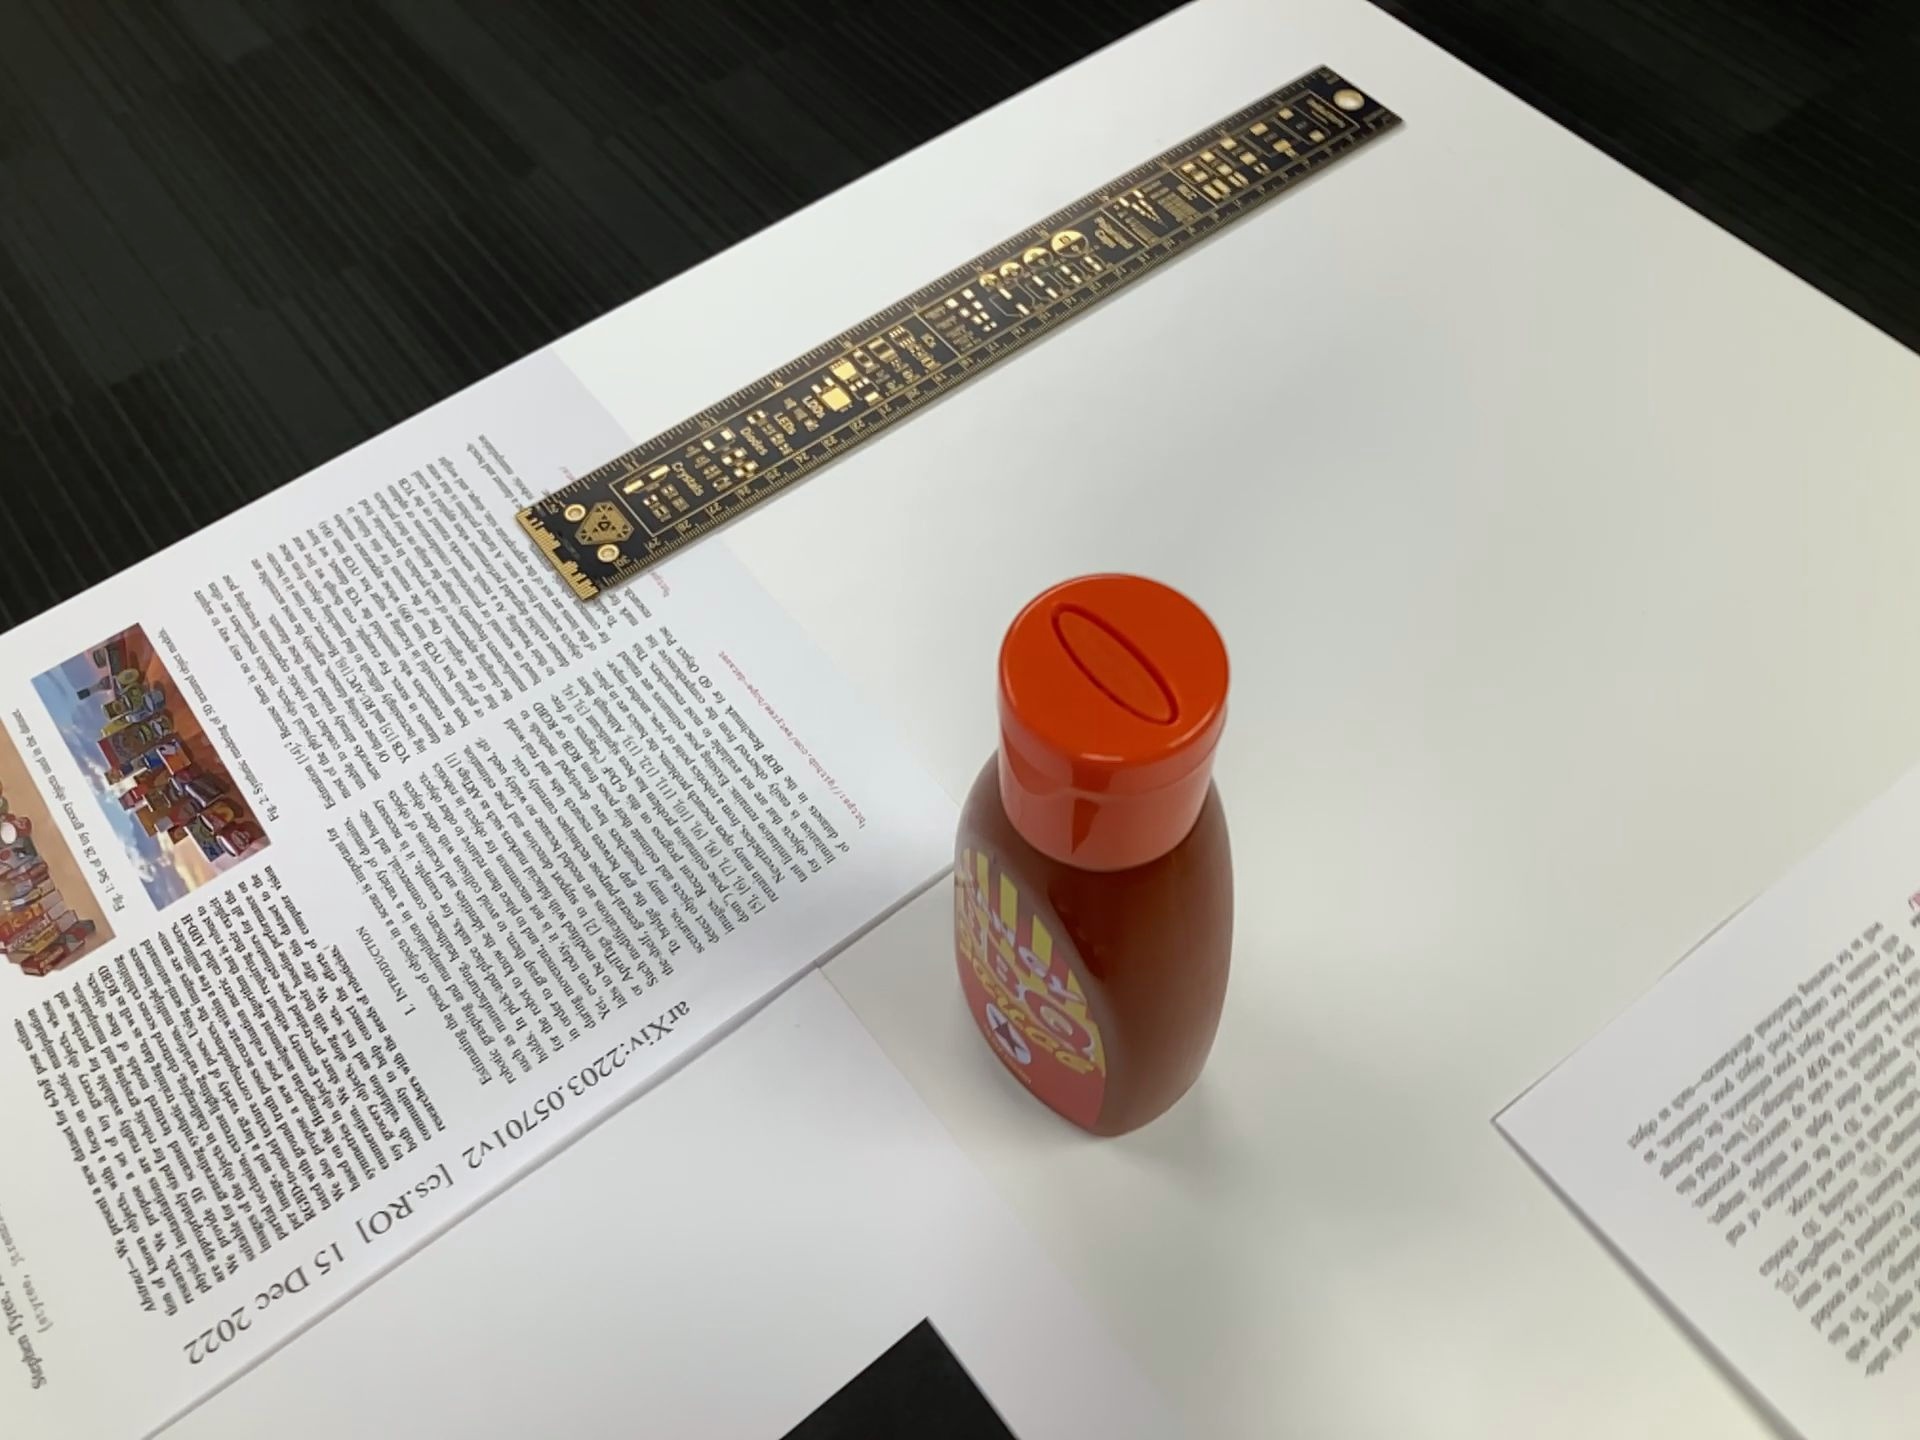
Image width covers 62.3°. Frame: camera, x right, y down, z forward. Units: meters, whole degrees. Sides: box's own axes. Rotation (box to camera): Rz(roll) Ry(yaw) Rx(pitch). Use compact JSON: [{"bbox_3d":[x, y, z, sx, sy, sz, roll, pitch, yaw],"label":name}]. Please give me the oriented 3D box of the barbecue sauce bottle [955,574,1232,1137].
[{"bbox_3d":[0.026,0.030,0.309,0.043,0.148,0.065,-32,63,-18],"label":"barbecue sauce bottle"}]
